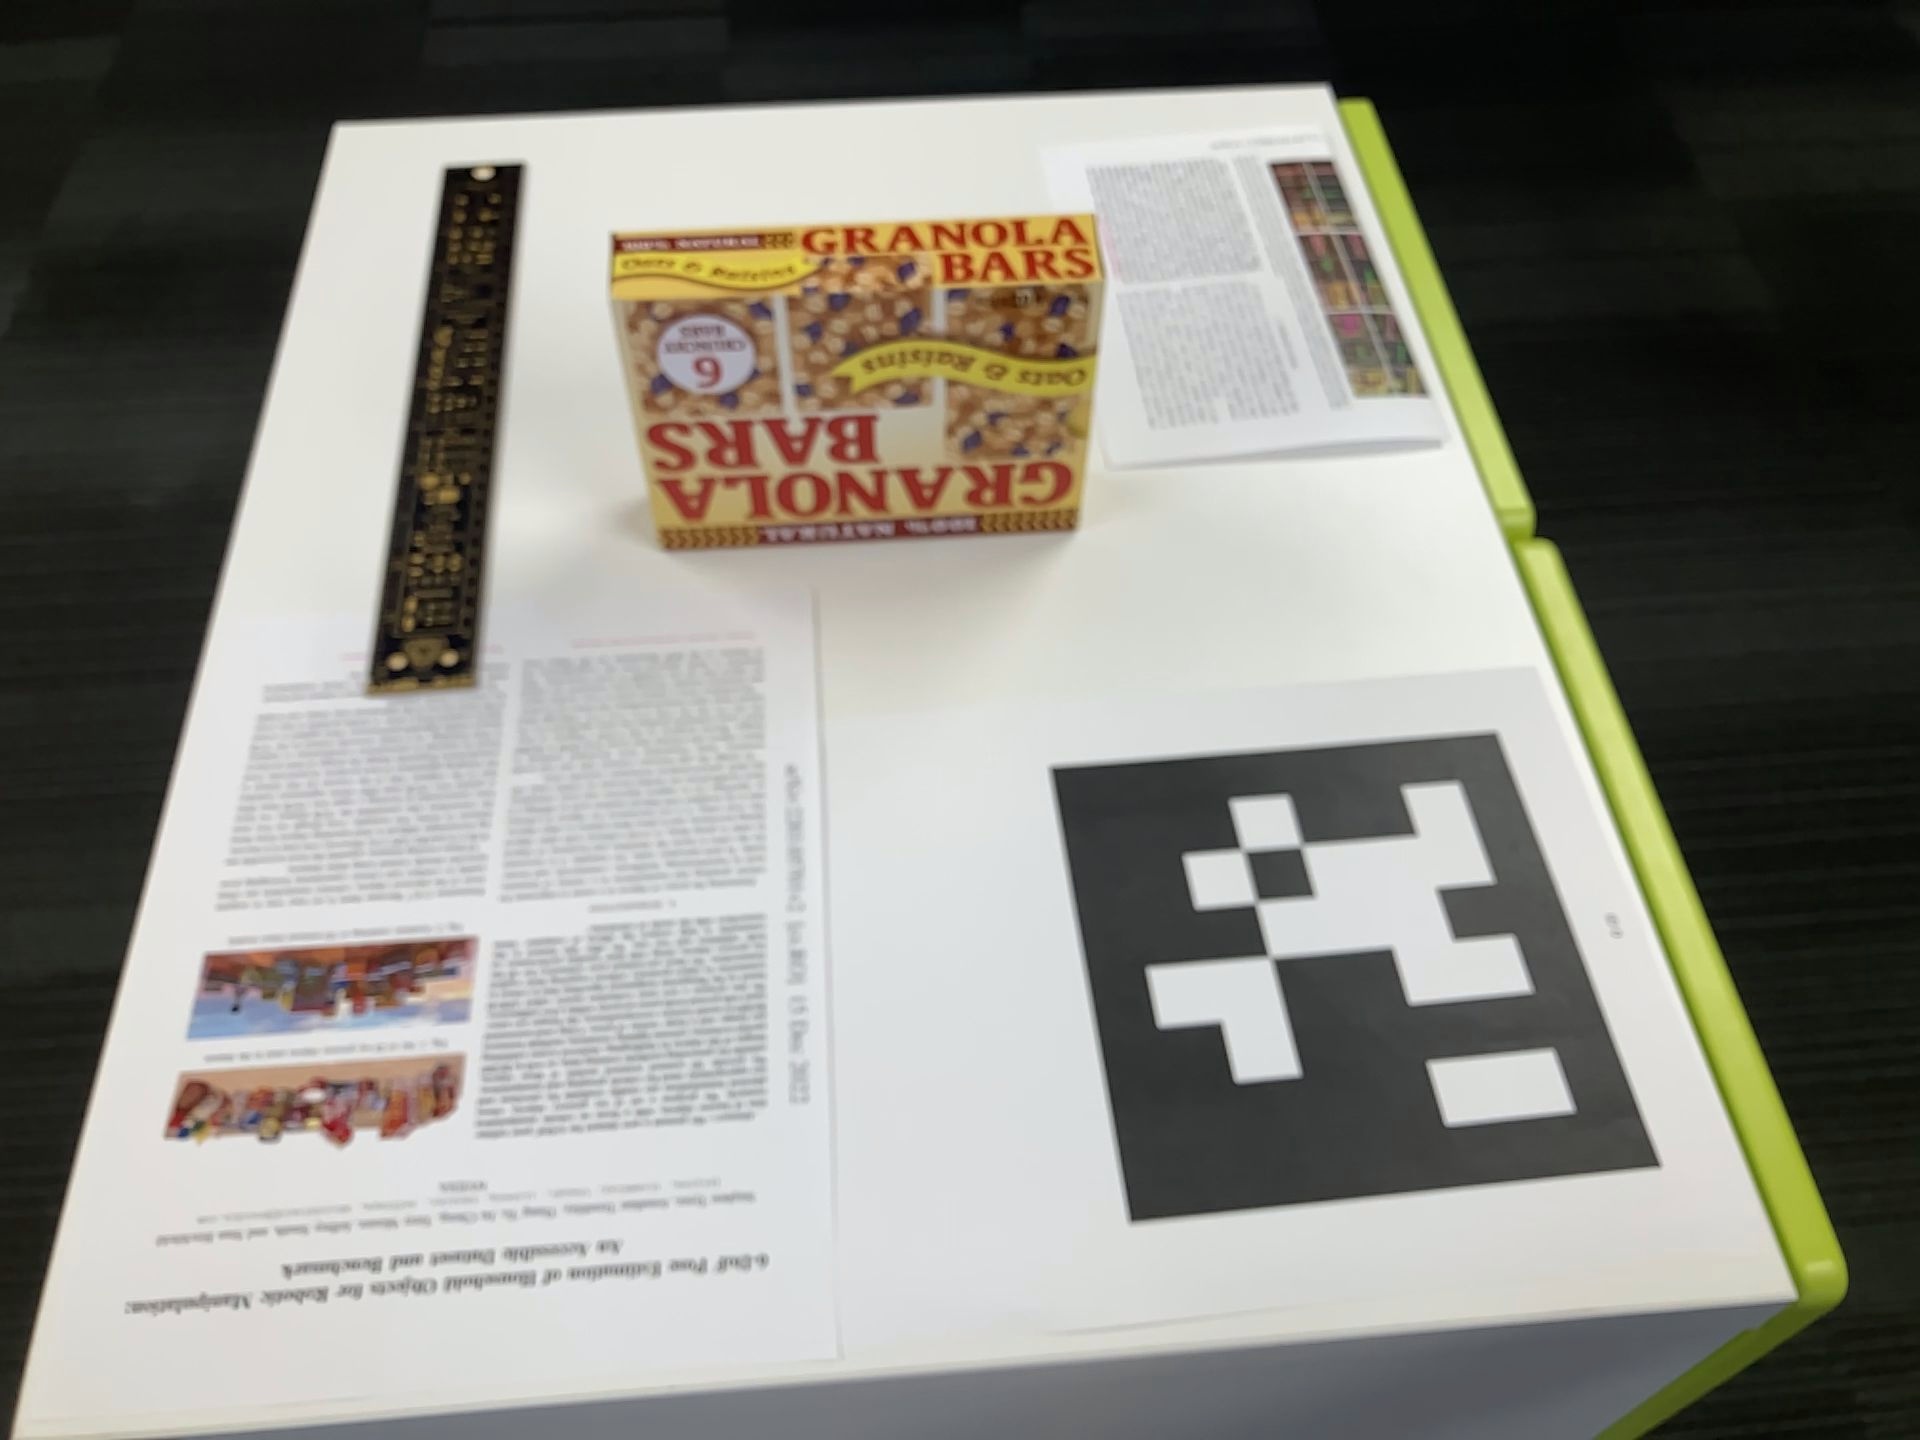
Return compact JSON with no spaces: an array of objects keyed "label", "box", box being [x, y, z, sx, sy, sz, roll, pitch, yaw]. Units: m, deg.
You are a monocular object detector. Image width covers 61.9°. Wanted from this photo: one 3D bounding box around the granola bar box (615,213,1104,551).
[{"label":"granola bar box","box":[-0.035,-0.121,0.589,0.165,0.124,0.039,-4,54,-3]}]
